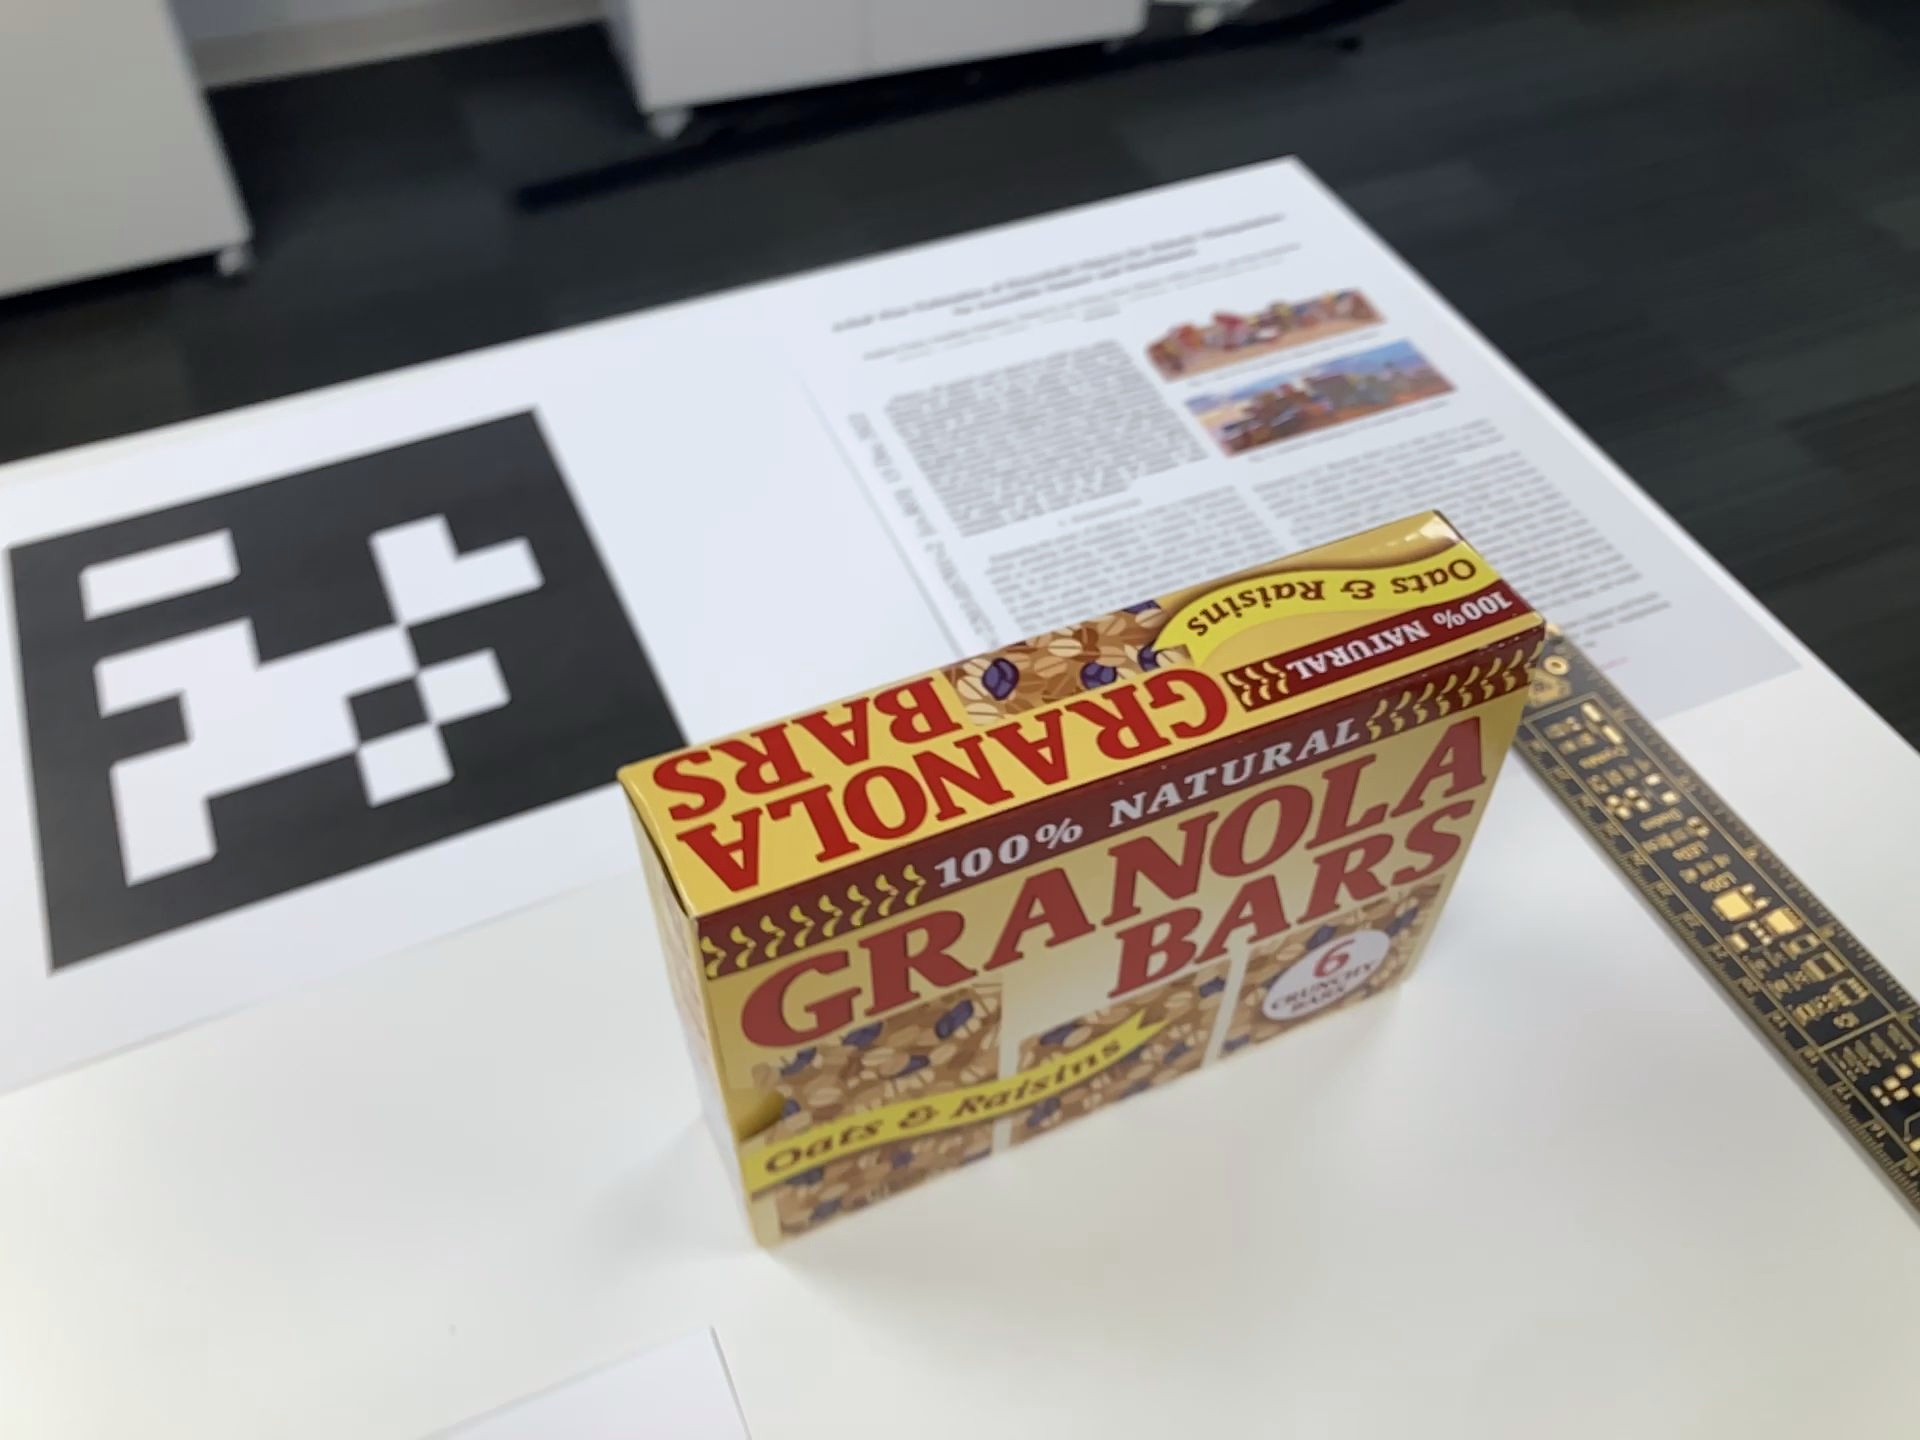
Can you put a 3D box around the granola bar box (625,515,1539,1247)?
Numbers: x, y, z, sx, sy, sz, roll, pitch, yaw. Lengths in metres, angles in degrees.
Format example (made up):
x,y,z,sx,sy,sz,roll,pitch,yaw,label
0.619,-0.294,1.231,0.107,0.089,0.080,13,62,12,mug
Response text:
x,y,z,sx,sy,sz,roll,pitch,yaw,label
0.026,0.036,0.328,0.165,0.124,0.039,-18,51,-16,granola bar box
